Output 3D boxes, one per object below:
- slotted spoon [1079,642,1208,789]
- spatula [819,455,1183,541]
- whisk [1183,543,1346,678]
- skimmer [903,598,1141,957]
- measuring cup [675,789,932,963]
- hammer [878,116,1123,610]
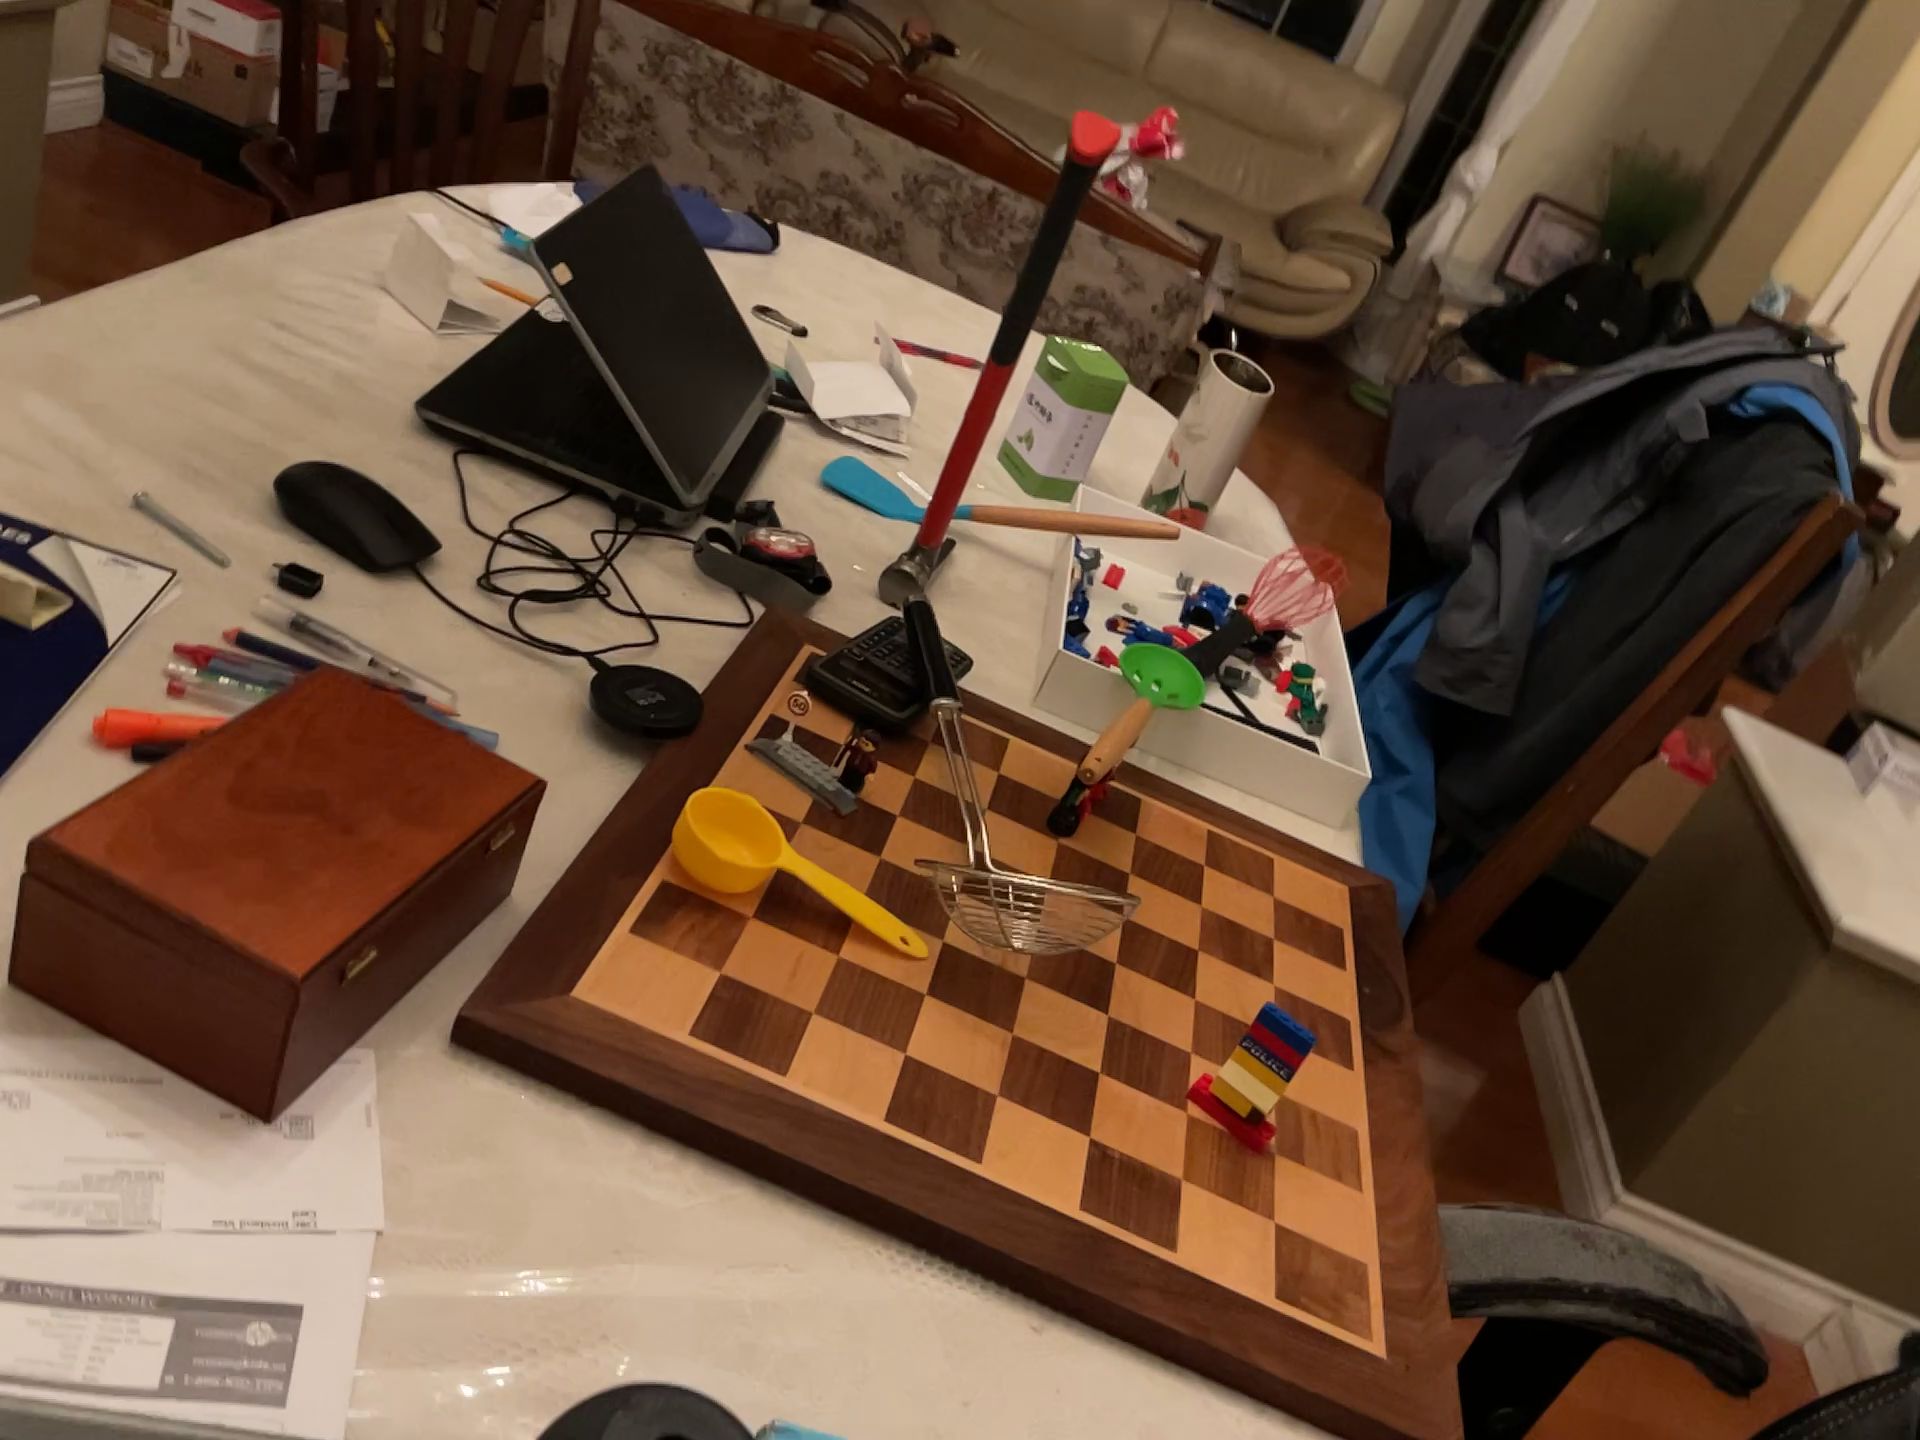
[{"bbox_3d":[0.116,-0.003,1.059,0.070,0.031,0.313,31,20,7],"label":"slotted spoon"},{"bbox_3d":[0.037,-0.188,1.388,0.318,0.044,0.082,8,24,13],"label":"spatula"},{"bbox_3d":[0.260,-0.088,1.403,0.073,0.073,0.295,21,37,33],"label":"whisk"},{"bbox_3d":[0.013,0.012,0.983,0.127,0.090,0.364,11,36,-21],"label":"skimmer"},{"bbox_3d":[-0.086,0.094,0.859,0.156,0.029,0.062,35,25,-7],"label":"measuring cup"},{"bbox_3d":[0.032,-0.272,1.225,0.038,0.386,0.143,25,29,1],"label":"hammer"}]
